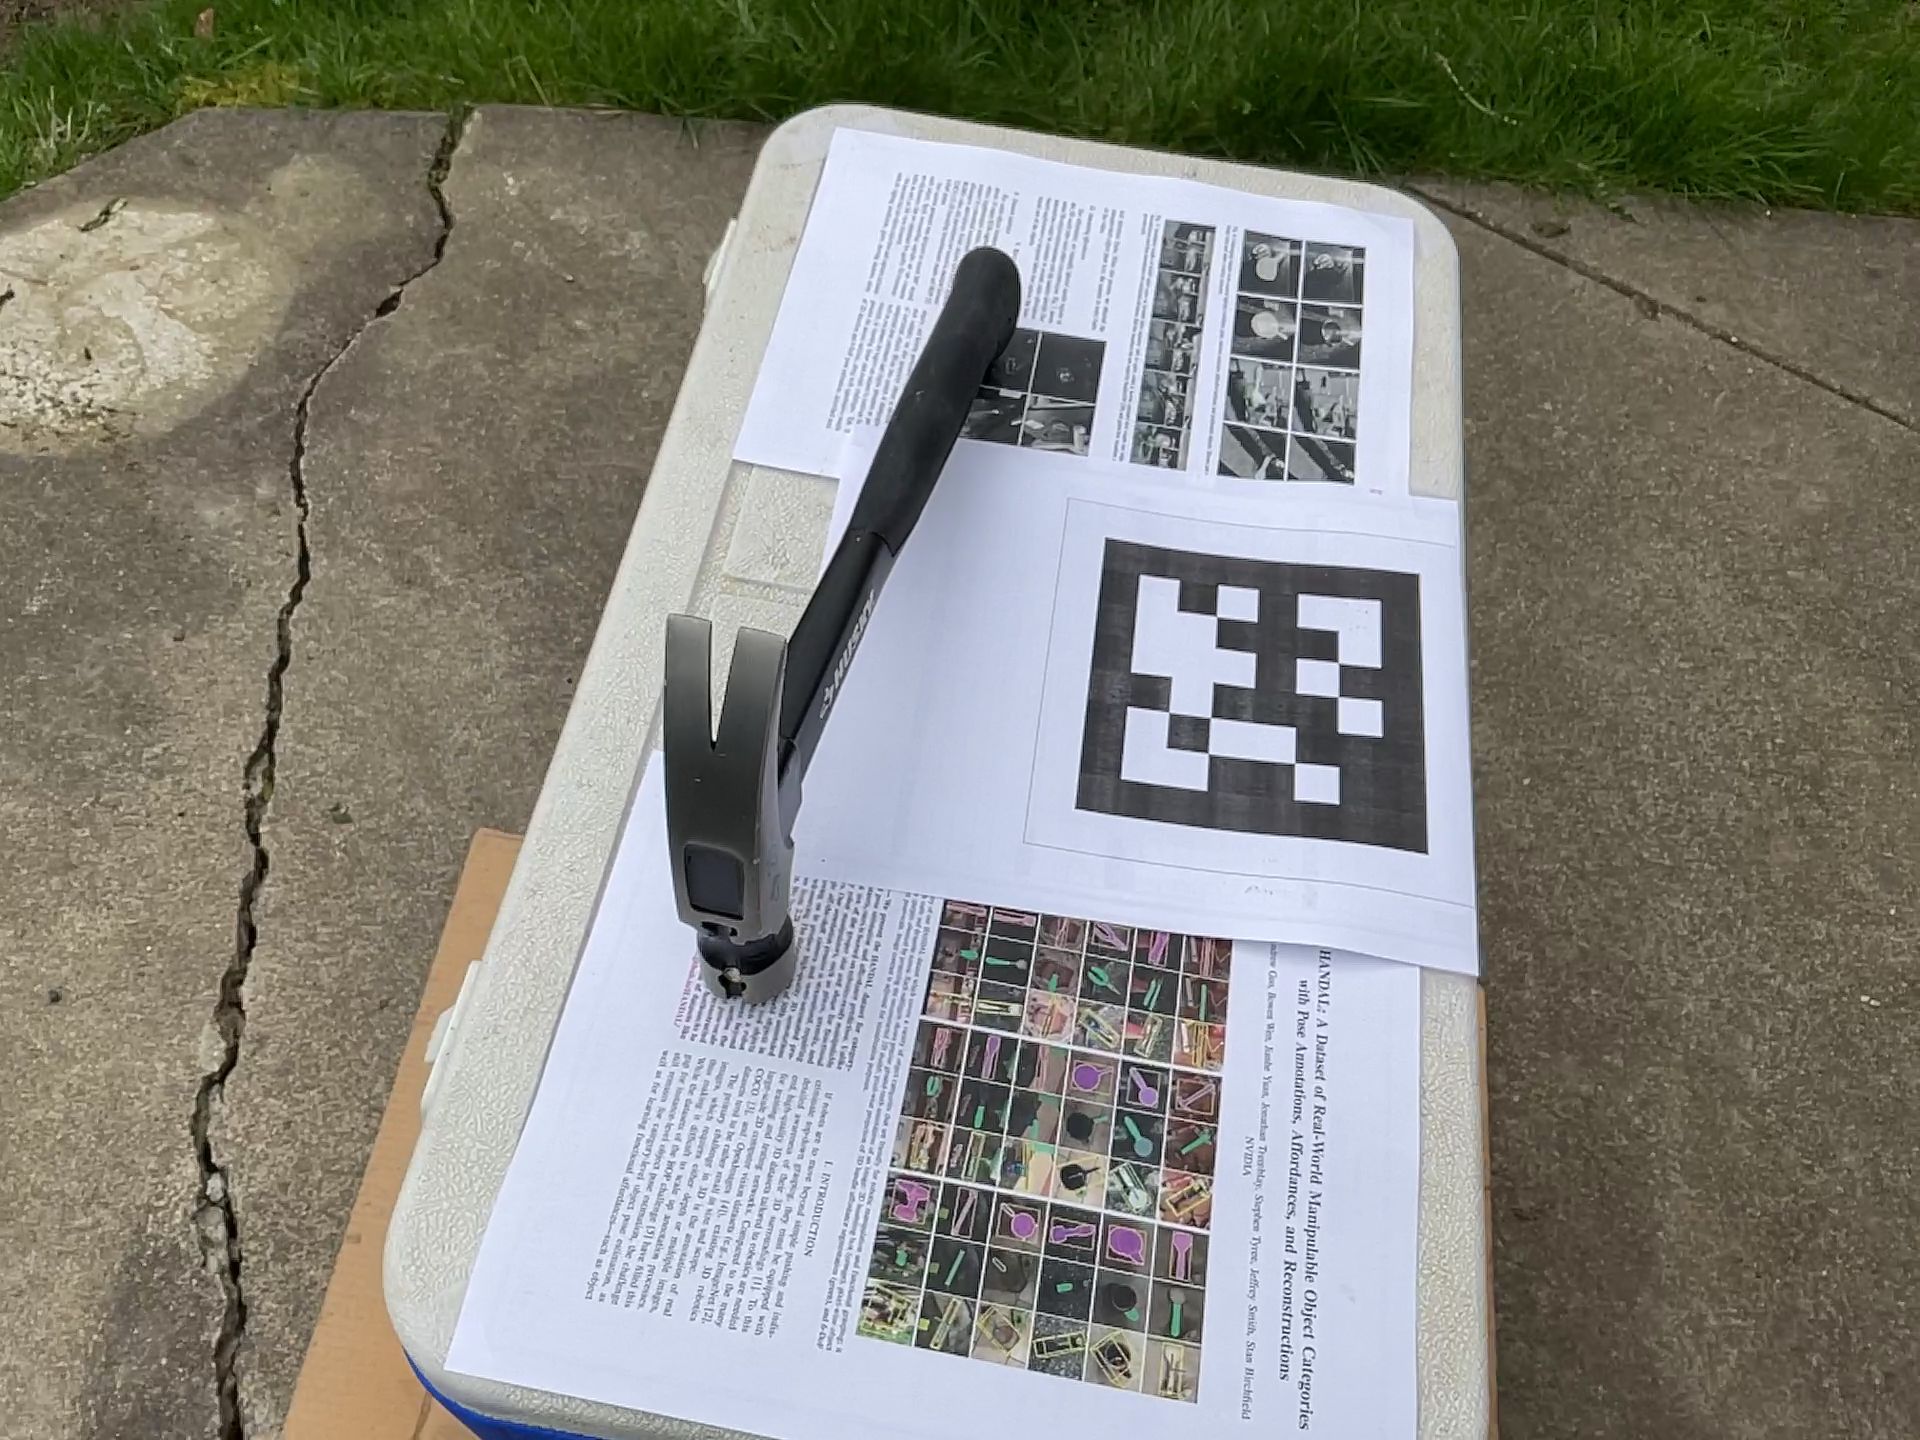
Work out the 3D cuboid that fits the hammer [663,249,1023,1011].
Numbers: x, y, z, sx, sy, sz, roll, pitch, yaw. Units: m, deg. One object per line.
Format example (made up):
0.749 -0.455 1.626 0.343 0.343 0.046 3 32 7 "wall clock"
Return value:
-0.030 -0.072 0.575 0.035 0.146 0.335 12 49 9 "hammer"
